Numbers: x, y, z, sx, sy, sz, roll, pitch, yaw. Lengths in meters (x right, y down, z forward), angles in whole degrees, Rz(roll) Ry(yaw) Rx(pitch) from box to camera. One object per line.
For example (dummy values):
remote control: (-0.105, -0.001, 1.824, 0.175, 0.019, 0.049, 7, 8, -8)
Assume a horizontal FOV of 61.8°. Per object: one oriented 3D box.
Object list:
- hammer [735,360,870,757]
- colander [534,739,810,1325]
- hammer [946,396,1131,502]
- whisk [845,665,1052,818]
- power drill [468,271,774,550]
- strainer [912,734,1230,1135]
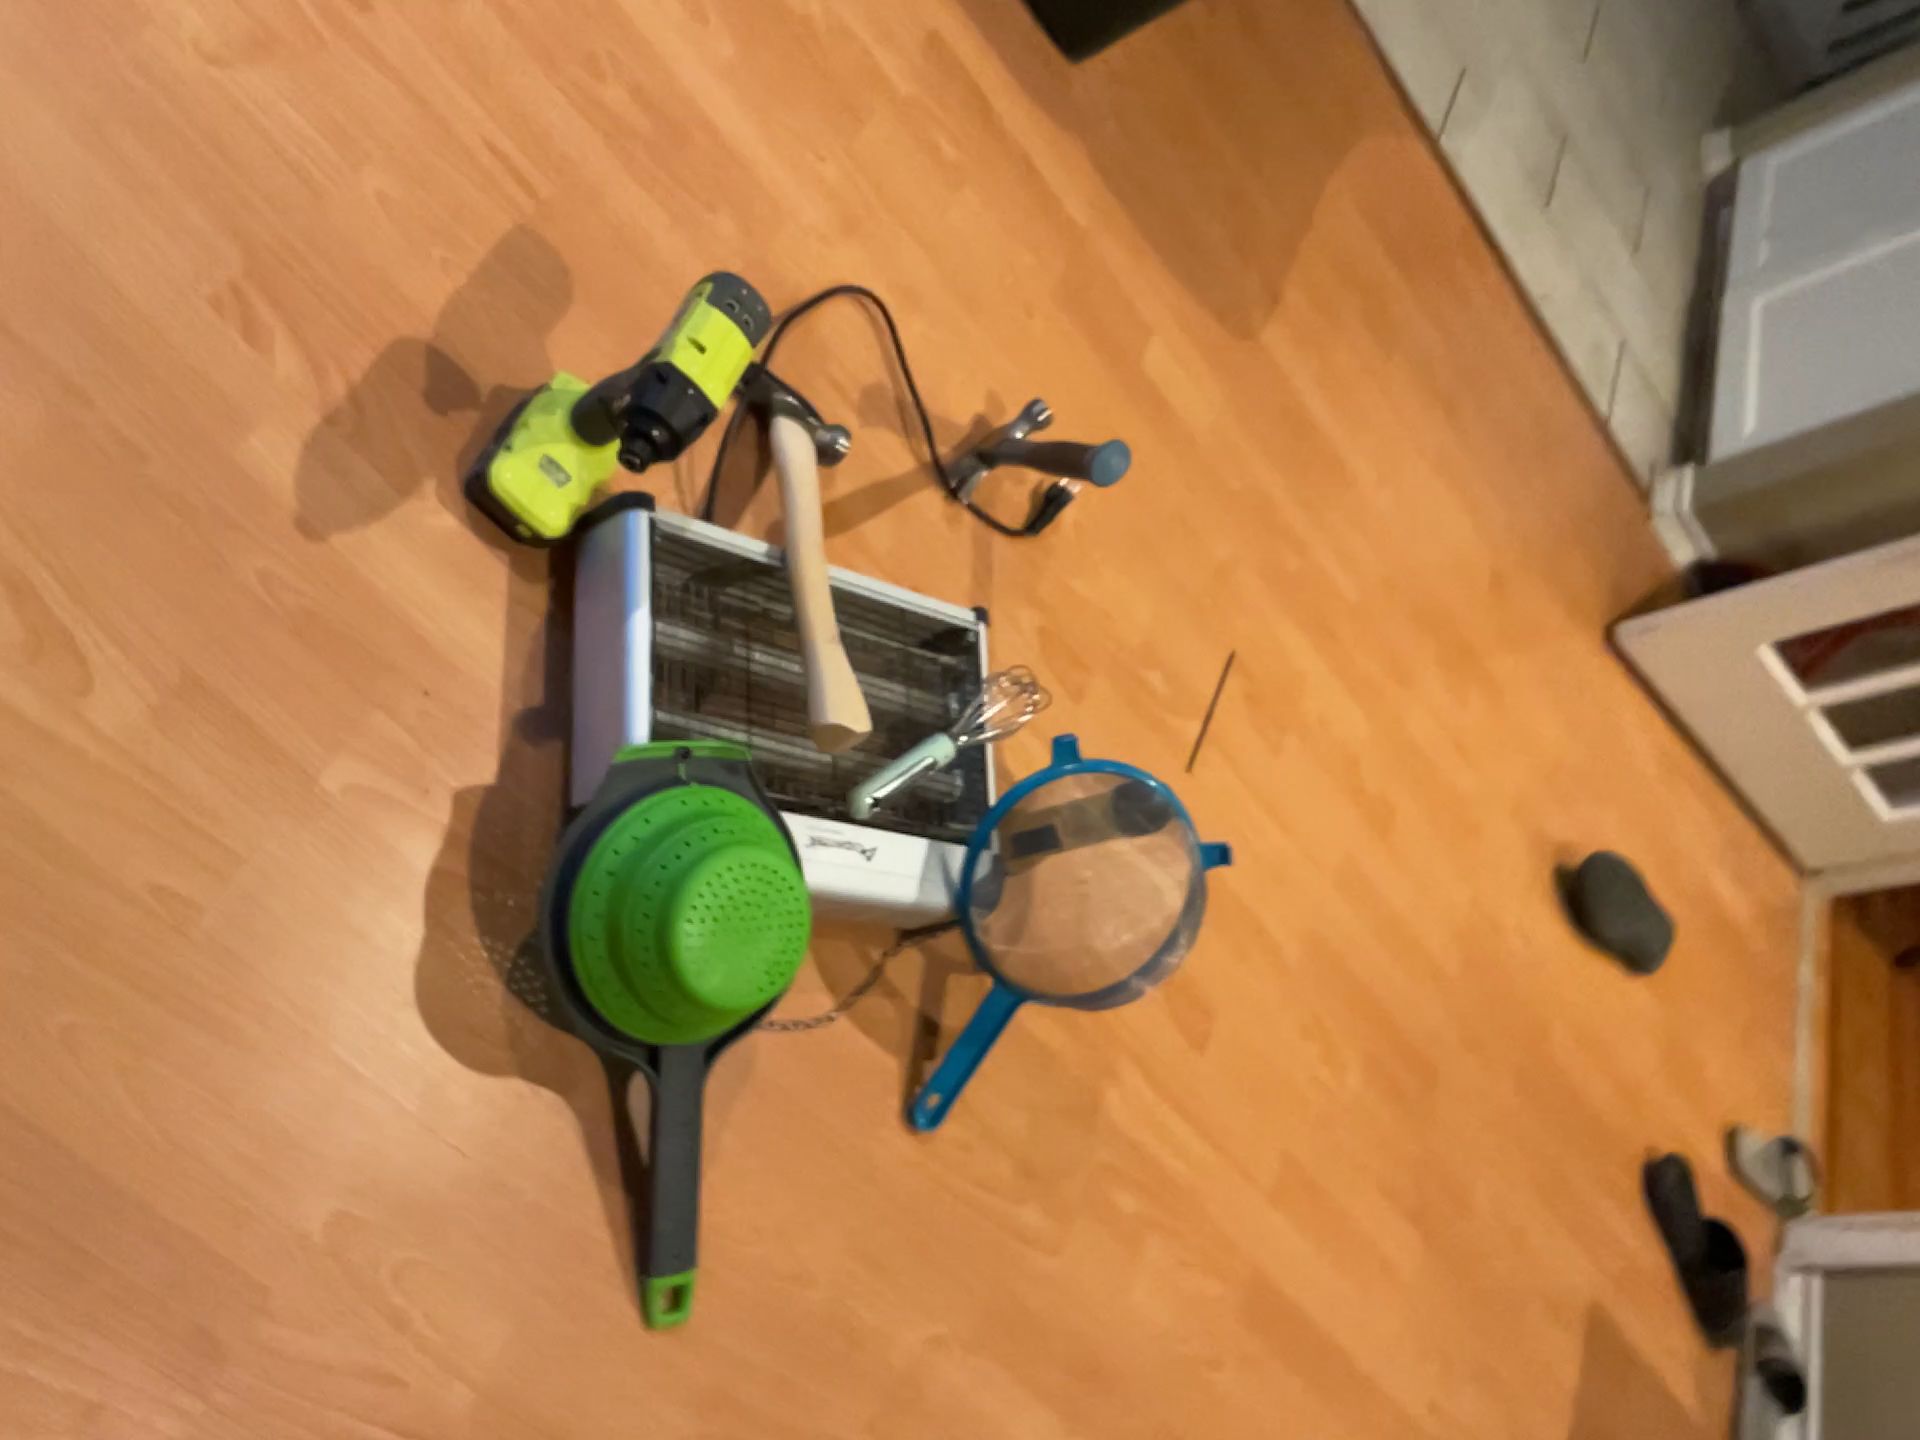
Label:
hammer: (-0.127, -0.135, 1.232, 0.146, 0.038, 0.411, 32, 31, -36)
colander: (-0.170, 0.213, 1.064, 0.204, 0.094, 0.397, 1, 92, -40)
hammer: (0.075, -0.236, 1.416, 0.128, 0.331, 0.033, -38, 109, -5)
whisk: (-0.008, 0.018, 1.291, 0.246, 0.059, 0.057, -34, 131, -44)
power drill: (-0.239, -0.206, 1.113, 0.080, 0.223, 0.171, 44, 49, -27)
strainer: (0.074, 0.196, 1.265, 0.211, 0.095, 0.340, 35, 88, -21)
